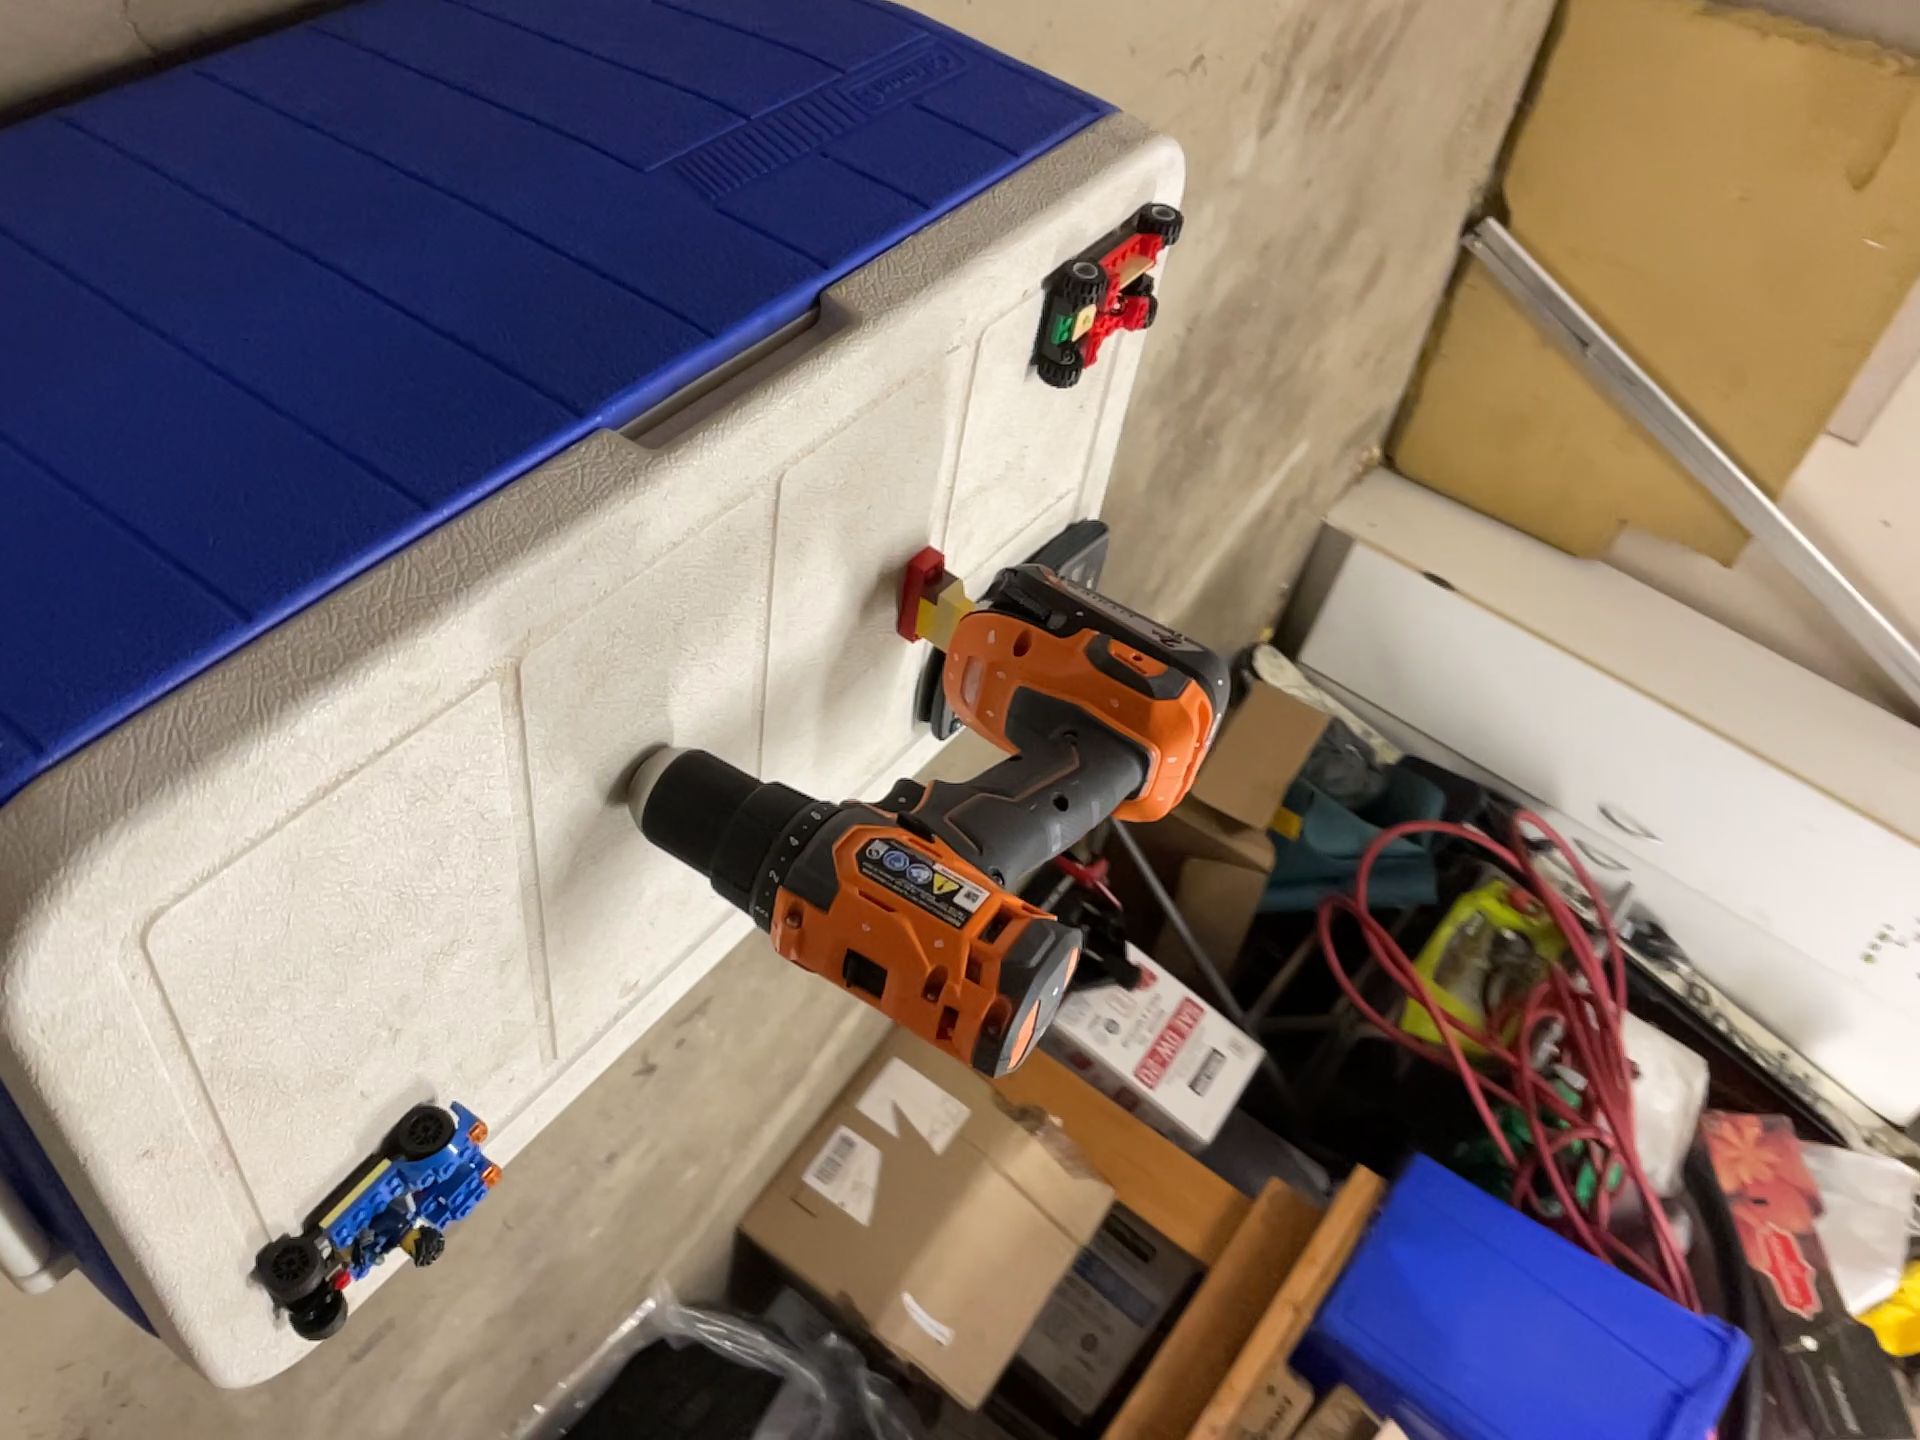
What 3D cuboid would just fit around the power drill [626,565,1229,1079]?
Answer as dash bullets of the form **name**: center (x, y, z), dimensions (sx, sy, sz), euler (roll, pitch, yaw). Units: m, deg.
- **power drill**: center (-0.007, 0.023, 0.658), dimensions (0.226, 0.185, 0.084), euler (-47, 158, -44)
